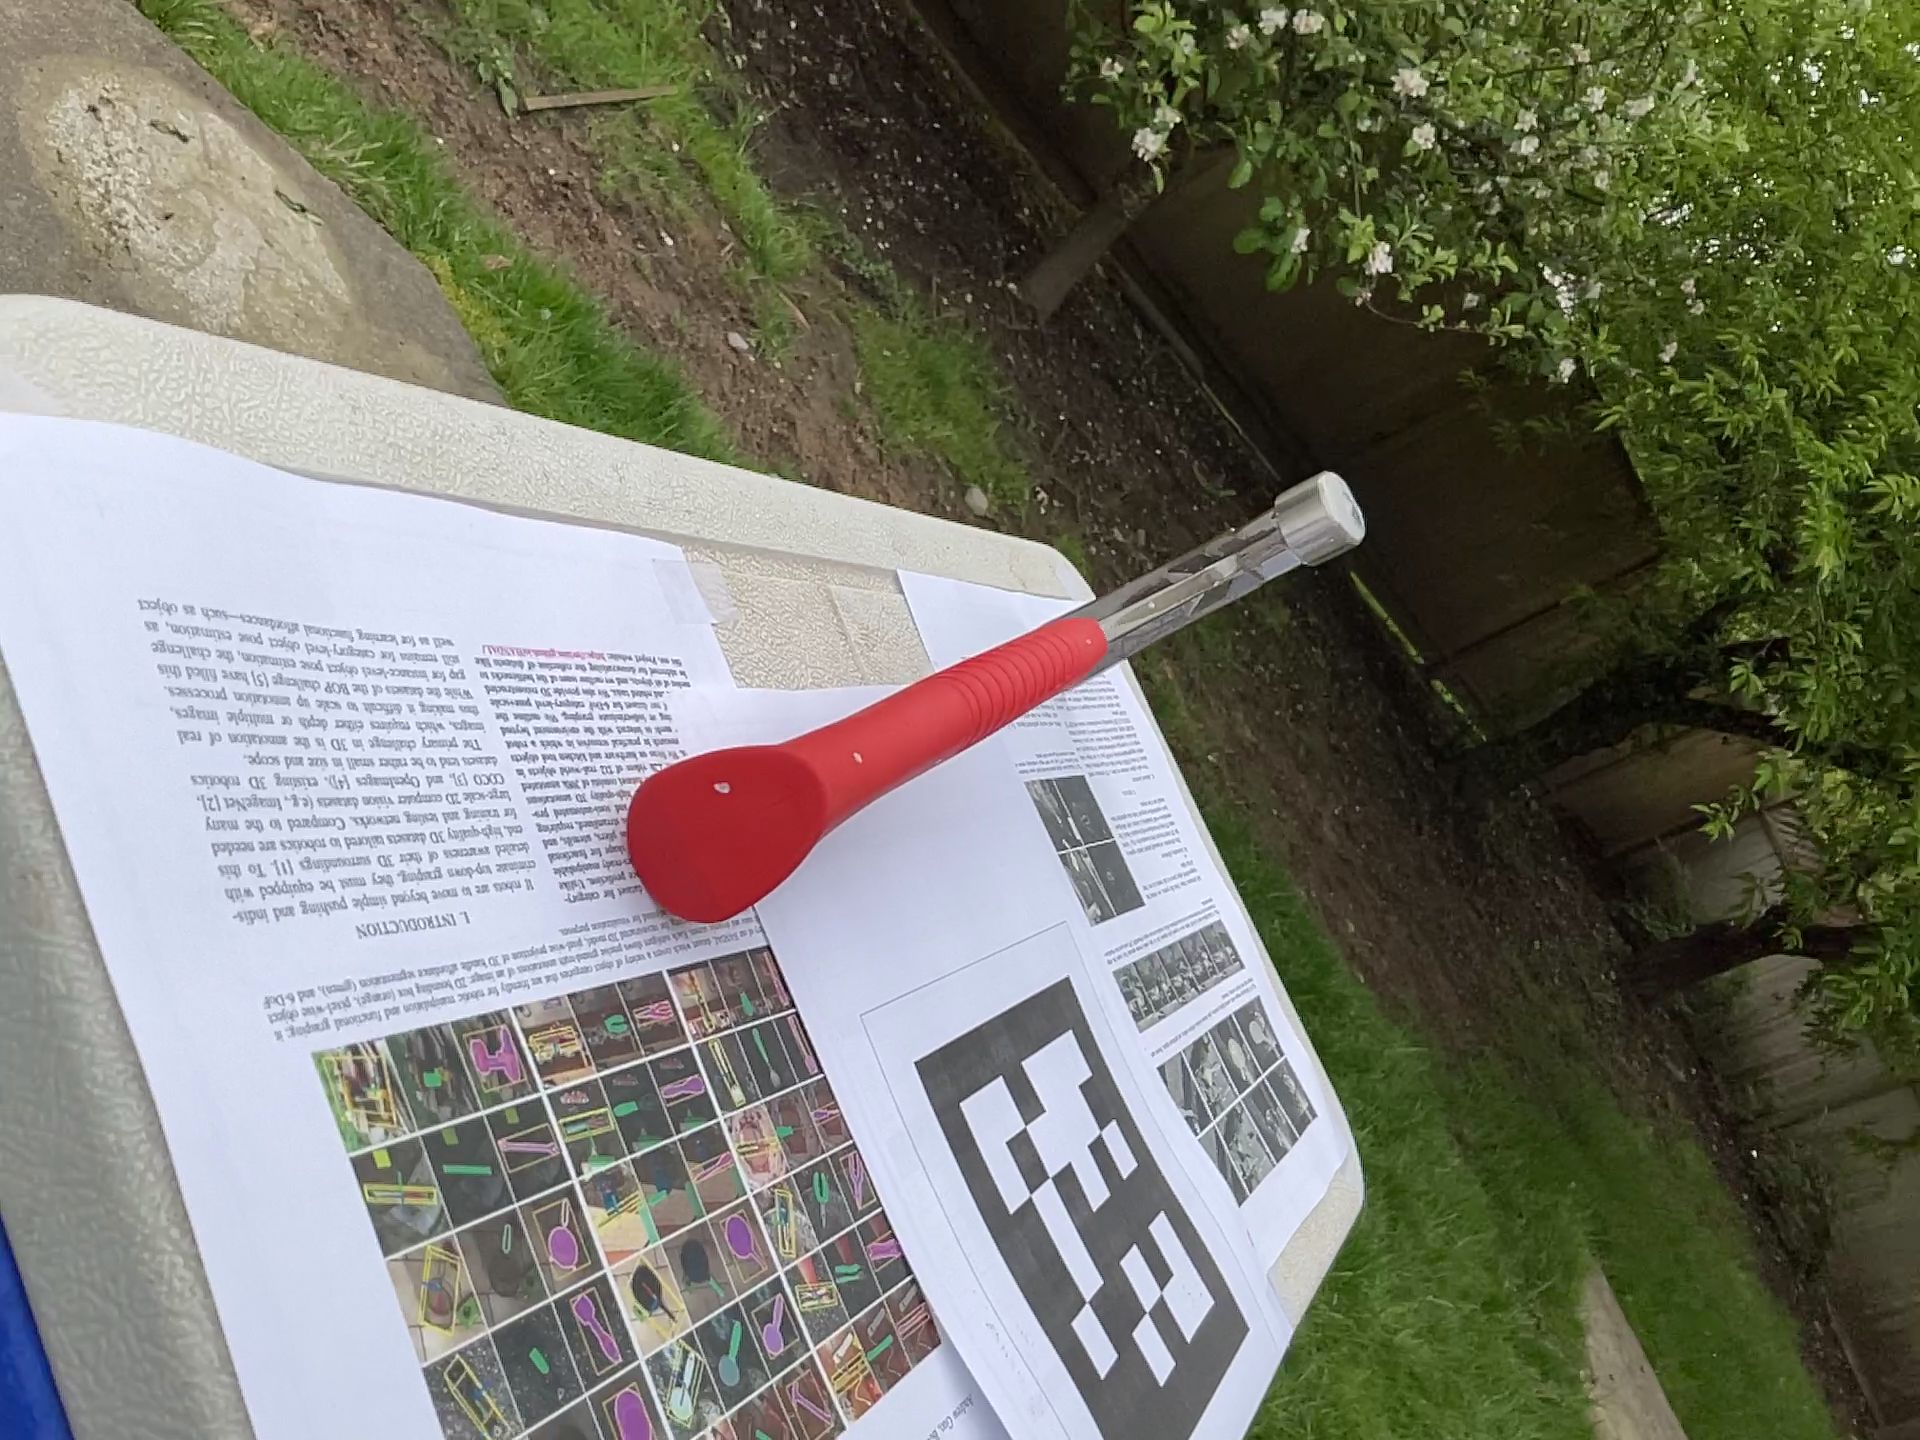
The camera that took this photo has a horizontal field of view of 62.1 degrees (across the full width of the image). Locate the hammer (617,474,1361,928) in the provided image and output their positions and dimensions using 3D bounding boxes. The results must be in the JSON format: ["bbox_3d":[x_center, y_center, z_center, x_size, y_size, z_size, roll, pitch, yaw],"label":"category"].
[{"bbox_3d":[0.013,-0.012,0.508,0.359,0.149,0.037,-28,91,-58],"label":"hammer"}]
